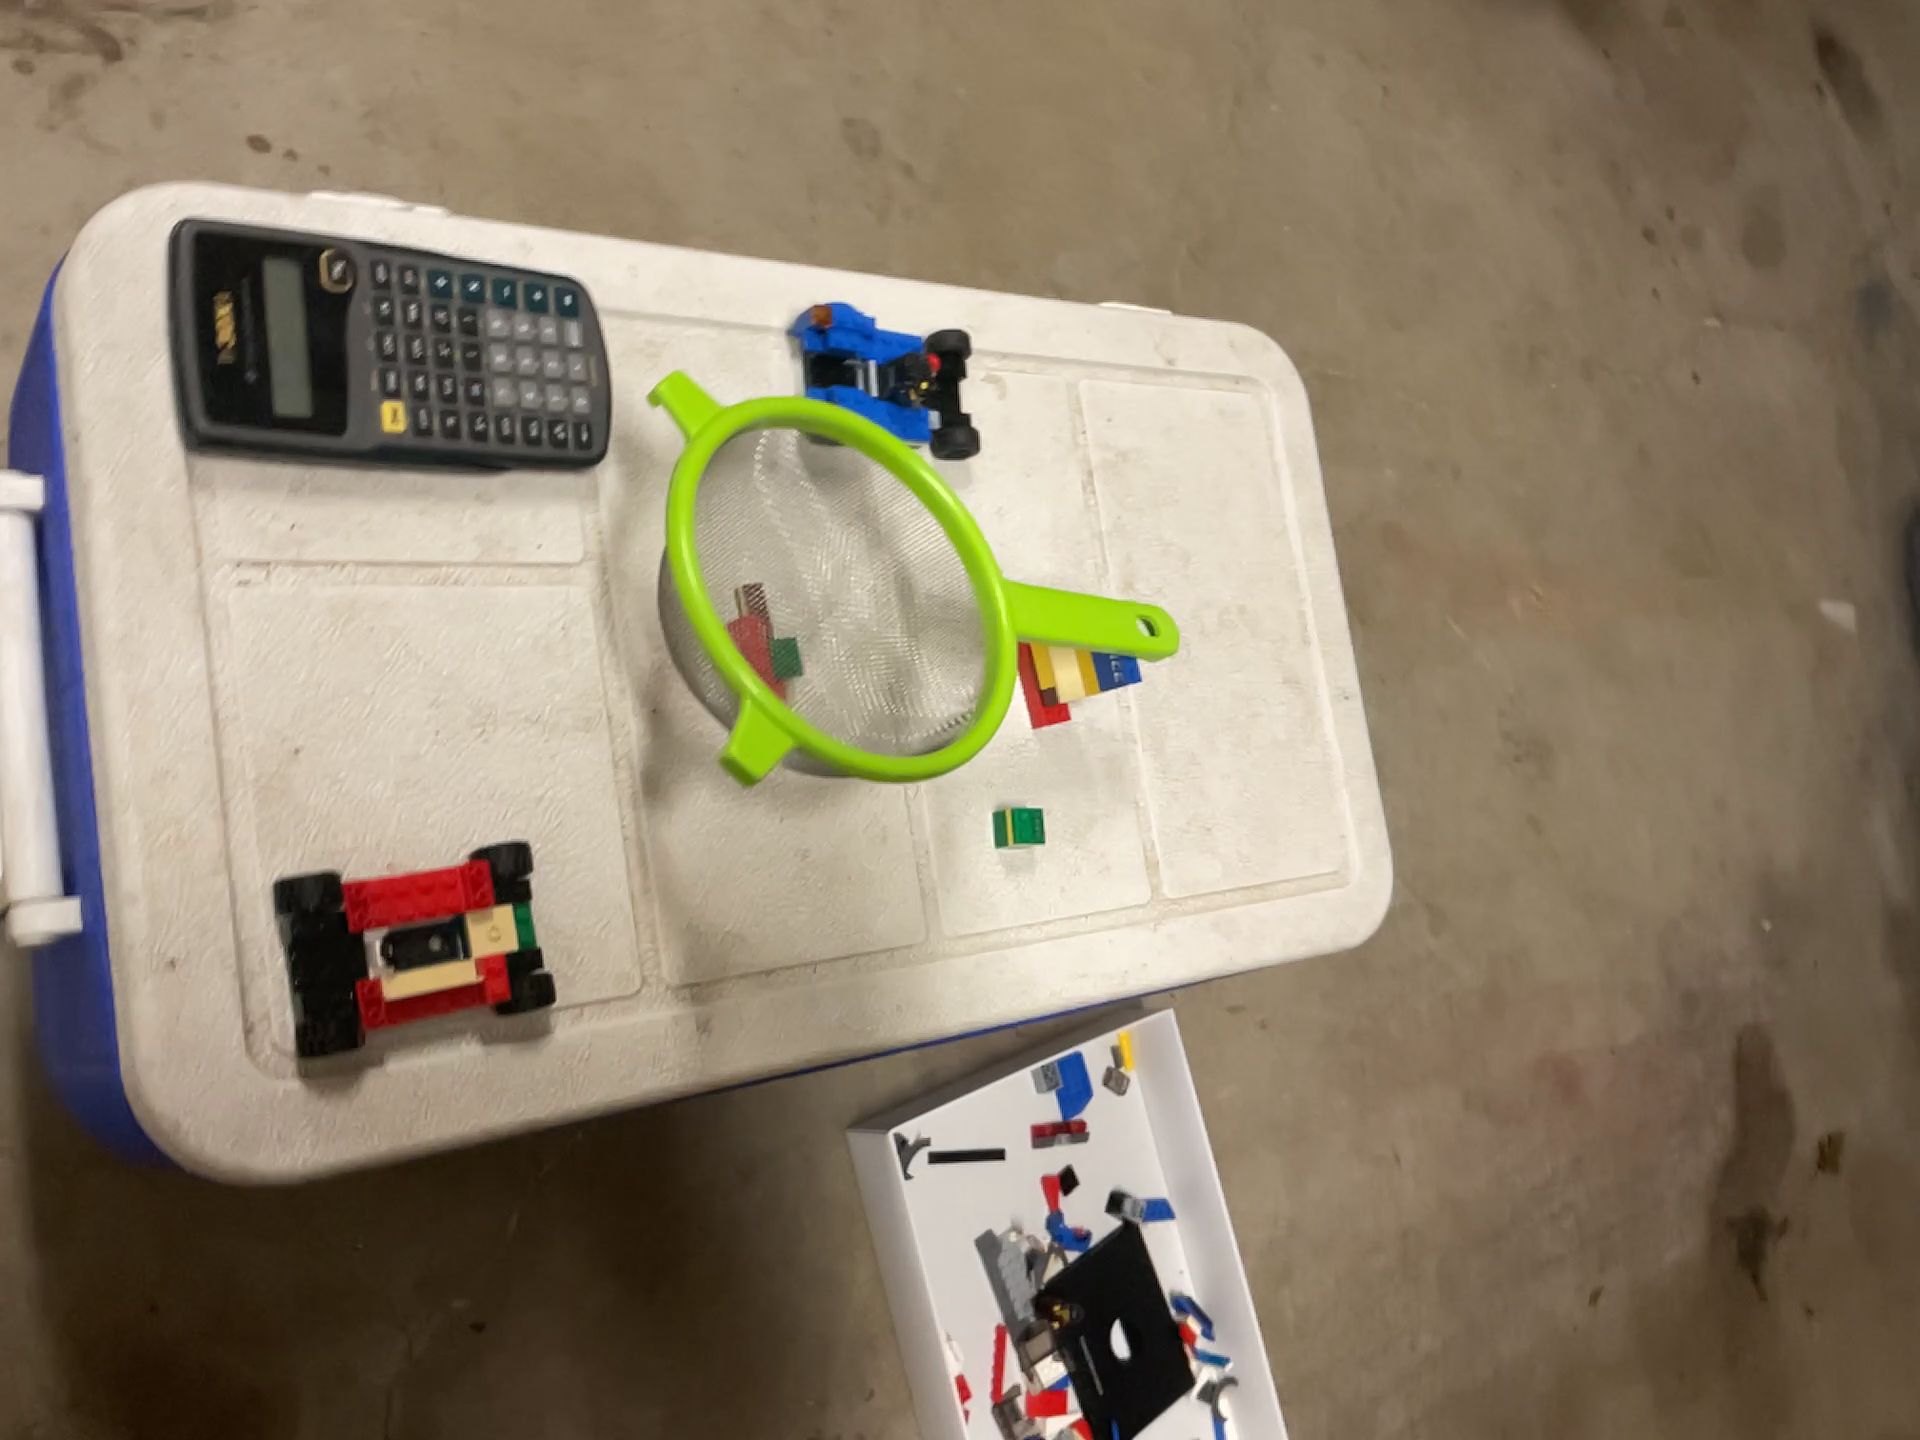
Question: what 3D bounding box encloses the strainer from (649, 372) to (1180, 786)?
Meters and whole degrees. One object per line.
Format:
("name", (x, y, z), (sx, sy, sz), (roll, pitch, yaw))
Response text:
("strainer", (-0.017, -0.035, 0.624), (0.256, 0.069, 0.151), (5, 63, -44))
